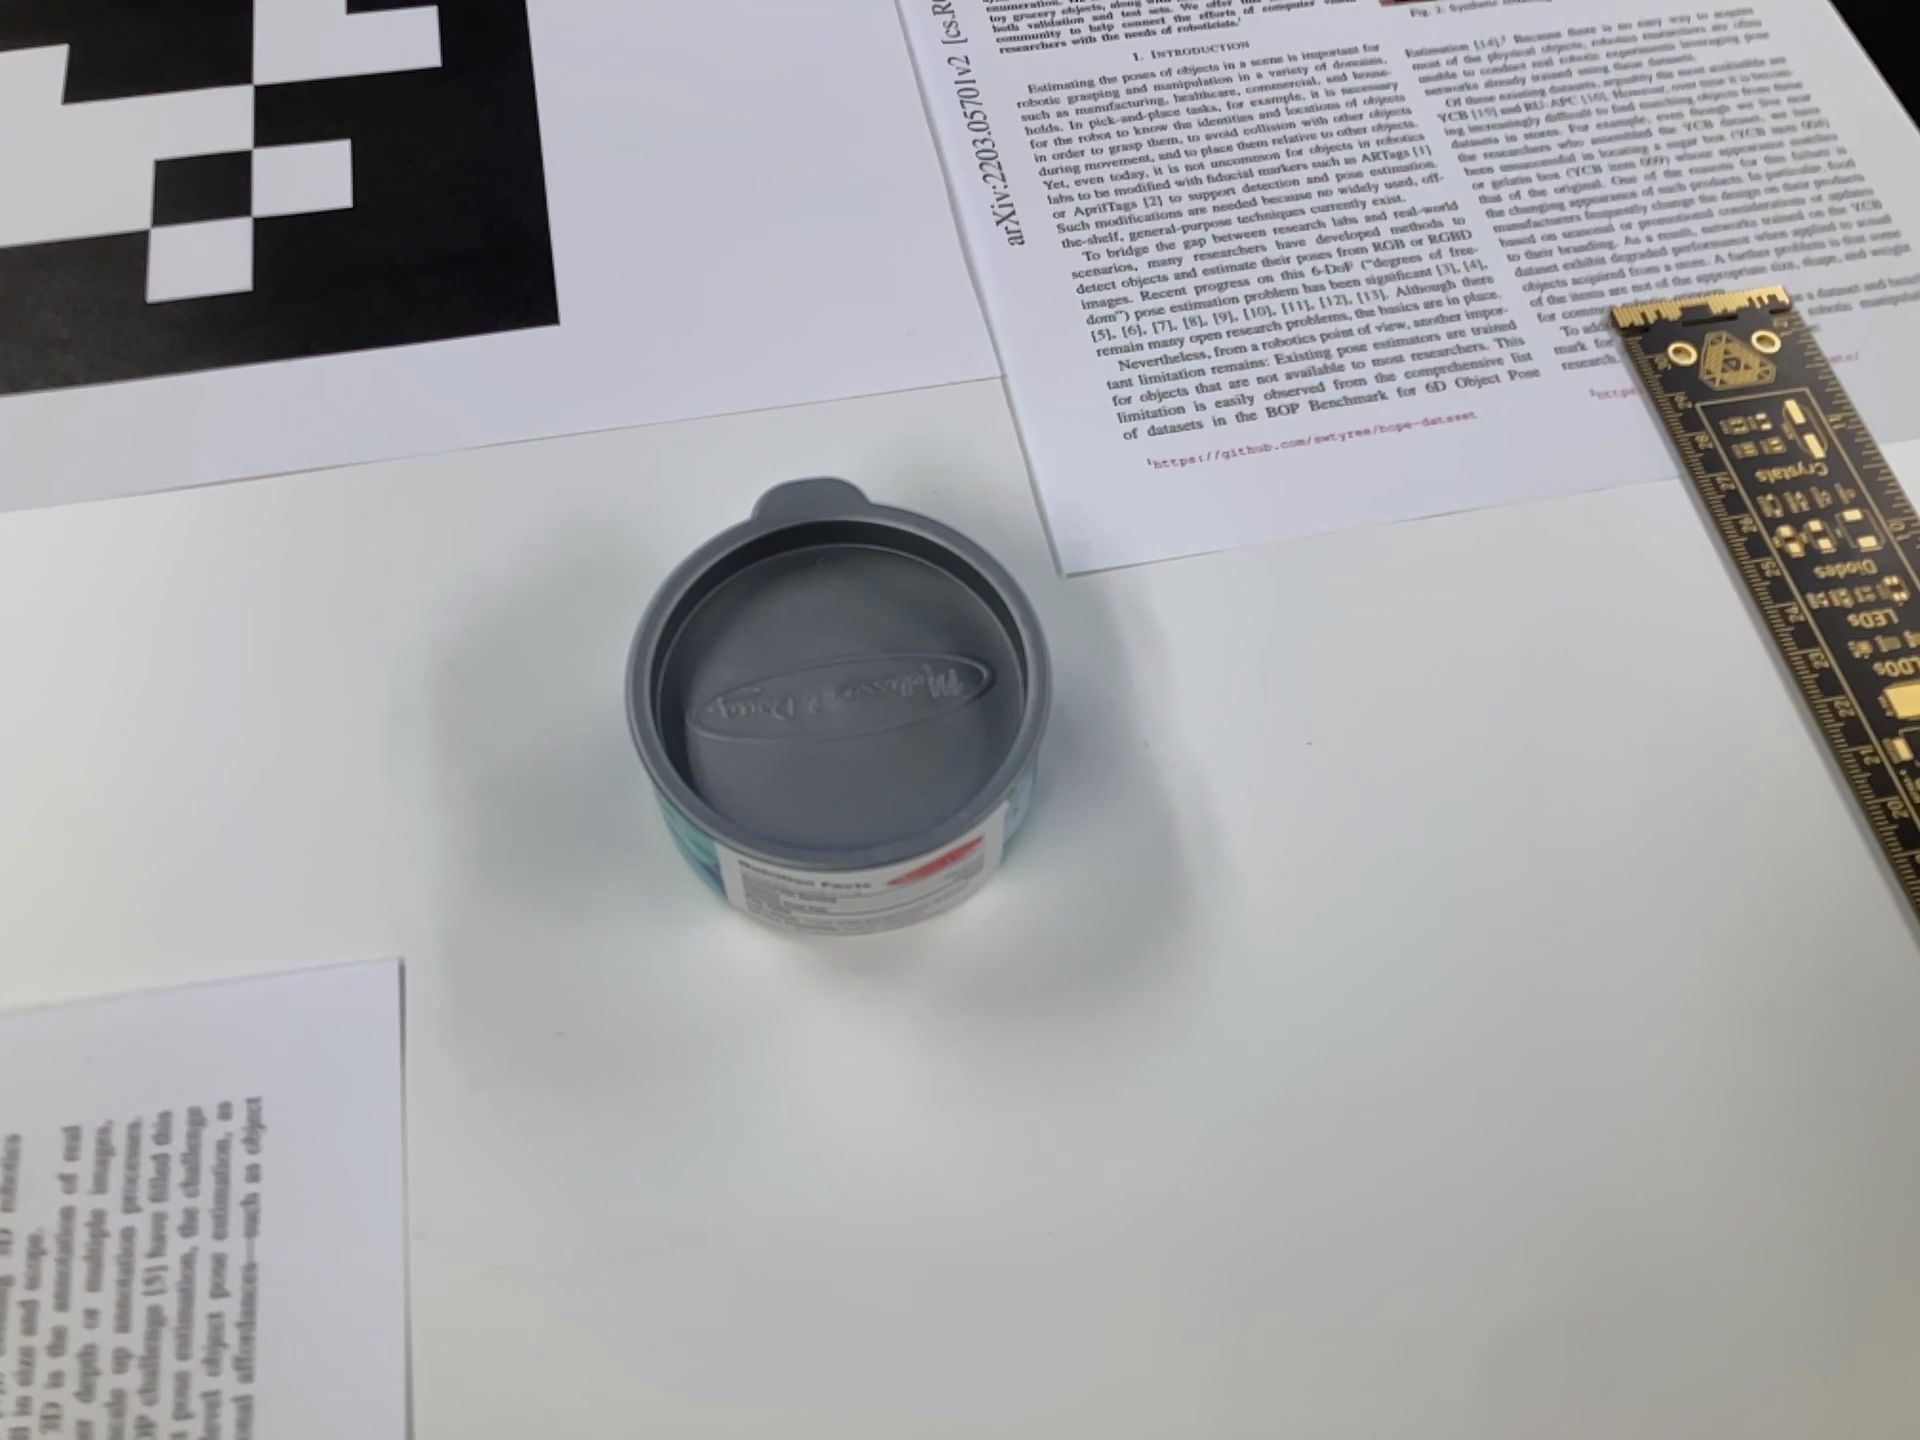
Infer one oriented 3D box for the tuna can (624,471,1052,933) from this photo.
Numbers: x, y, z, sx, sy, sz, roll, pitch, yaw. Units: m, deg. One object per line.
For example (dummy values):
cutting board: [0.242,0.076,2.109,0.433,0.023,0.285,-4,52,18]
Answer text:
tuna can: [-0.019,-0.003,0.259,0.071,0.033,0.071,1,61,-1]
